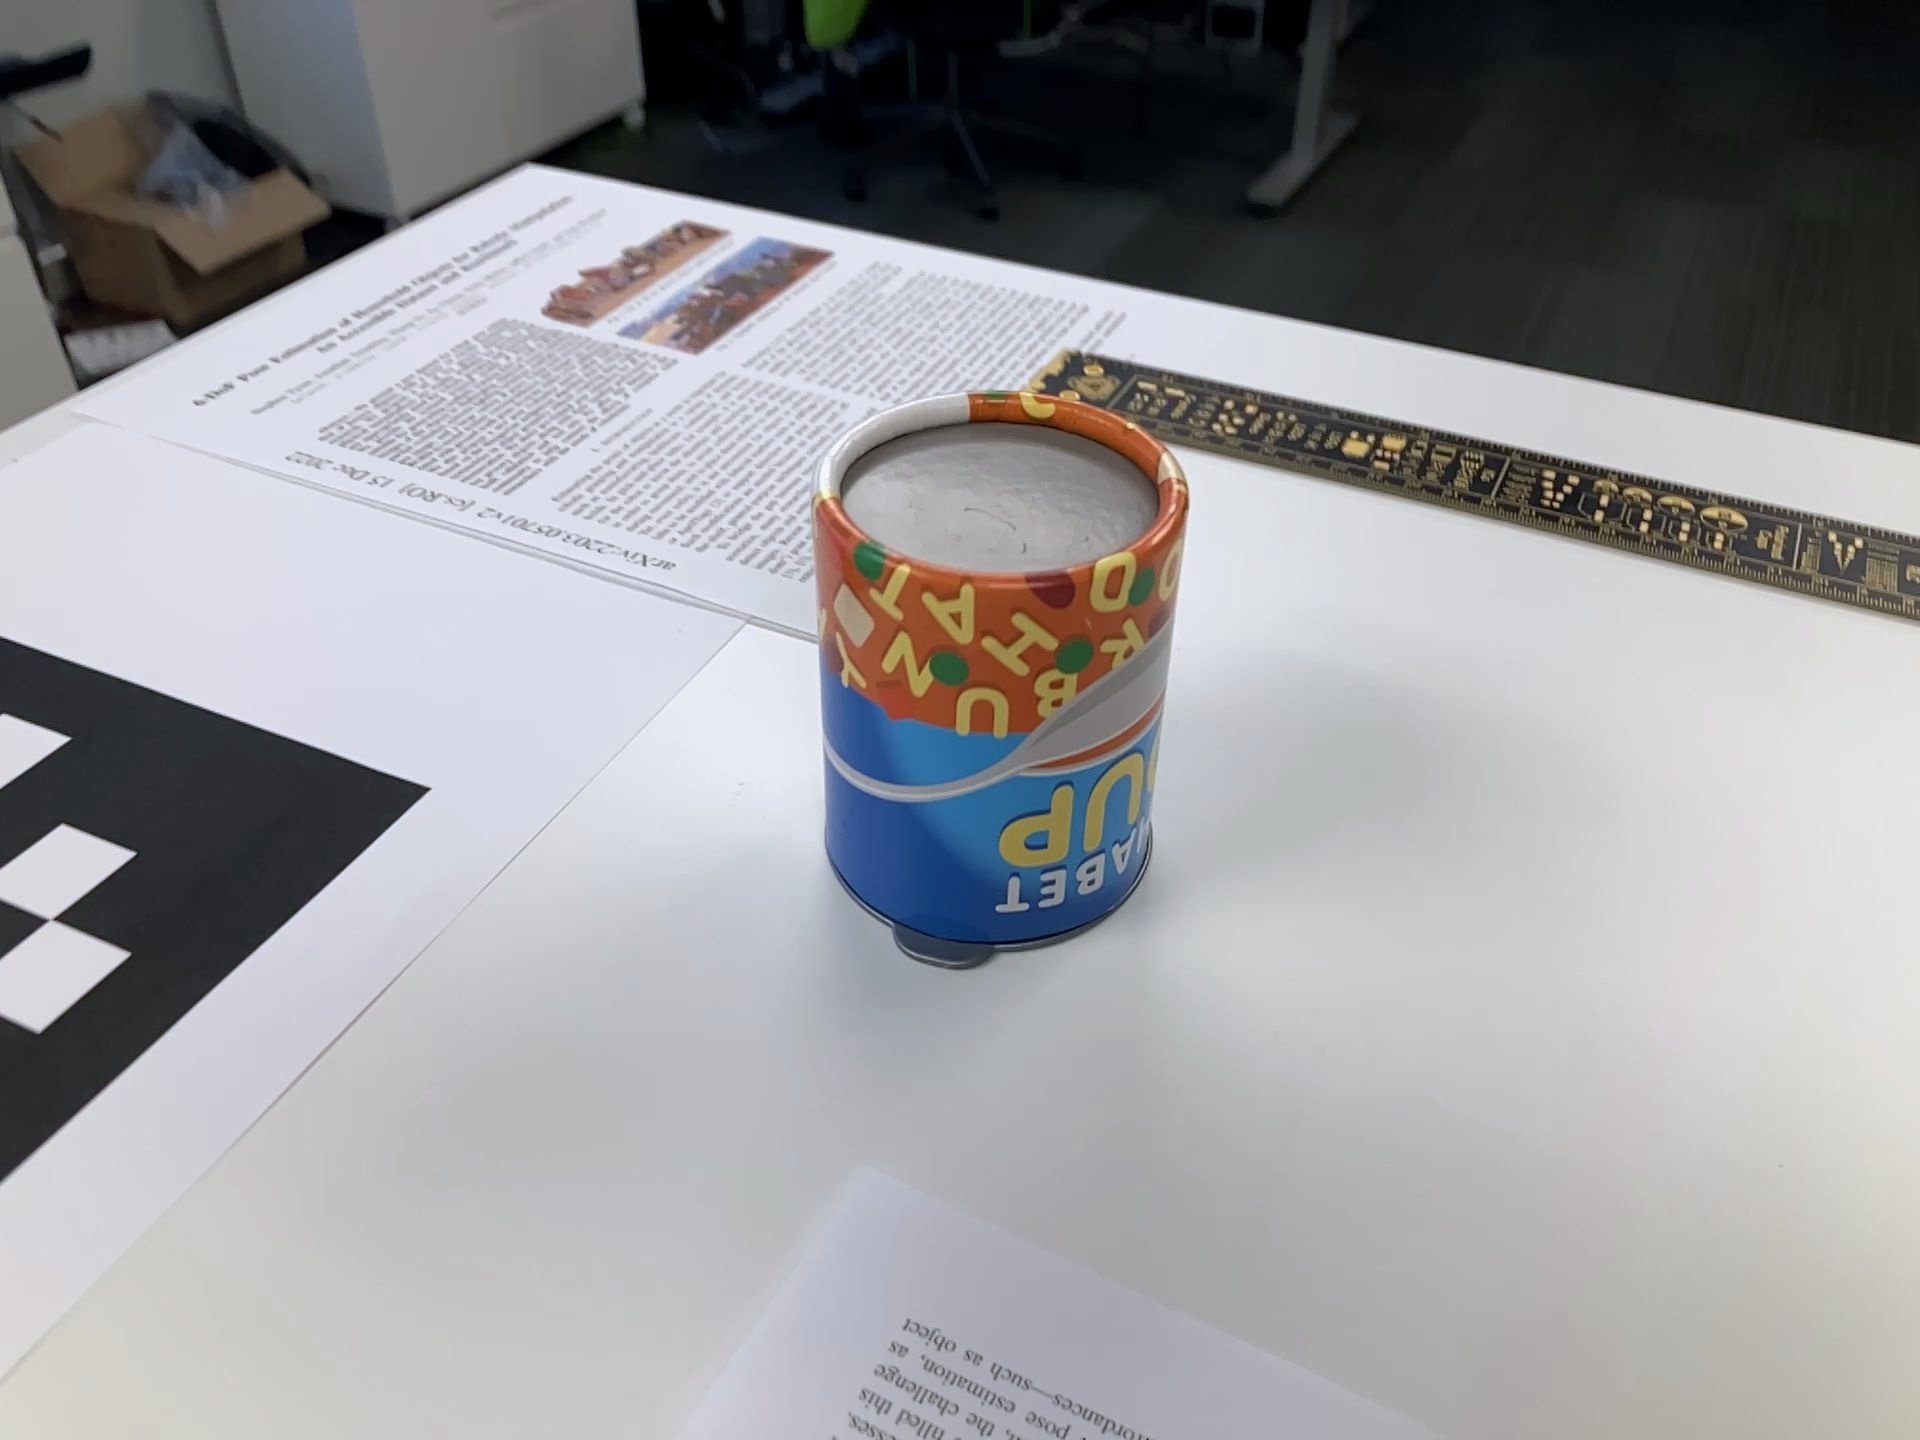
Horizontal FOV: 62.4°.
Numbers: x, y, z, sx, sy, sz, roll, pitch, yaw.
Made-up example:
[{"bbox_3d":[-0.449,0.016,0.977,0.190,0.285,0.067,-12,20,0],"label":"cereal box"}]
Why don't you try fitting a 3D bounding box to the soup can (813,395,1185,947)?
[{"bbox_3d":[0.009,-0.009,0.300,0.071,0.084,0.071,1,39,-1],"label":"soup can"}]
